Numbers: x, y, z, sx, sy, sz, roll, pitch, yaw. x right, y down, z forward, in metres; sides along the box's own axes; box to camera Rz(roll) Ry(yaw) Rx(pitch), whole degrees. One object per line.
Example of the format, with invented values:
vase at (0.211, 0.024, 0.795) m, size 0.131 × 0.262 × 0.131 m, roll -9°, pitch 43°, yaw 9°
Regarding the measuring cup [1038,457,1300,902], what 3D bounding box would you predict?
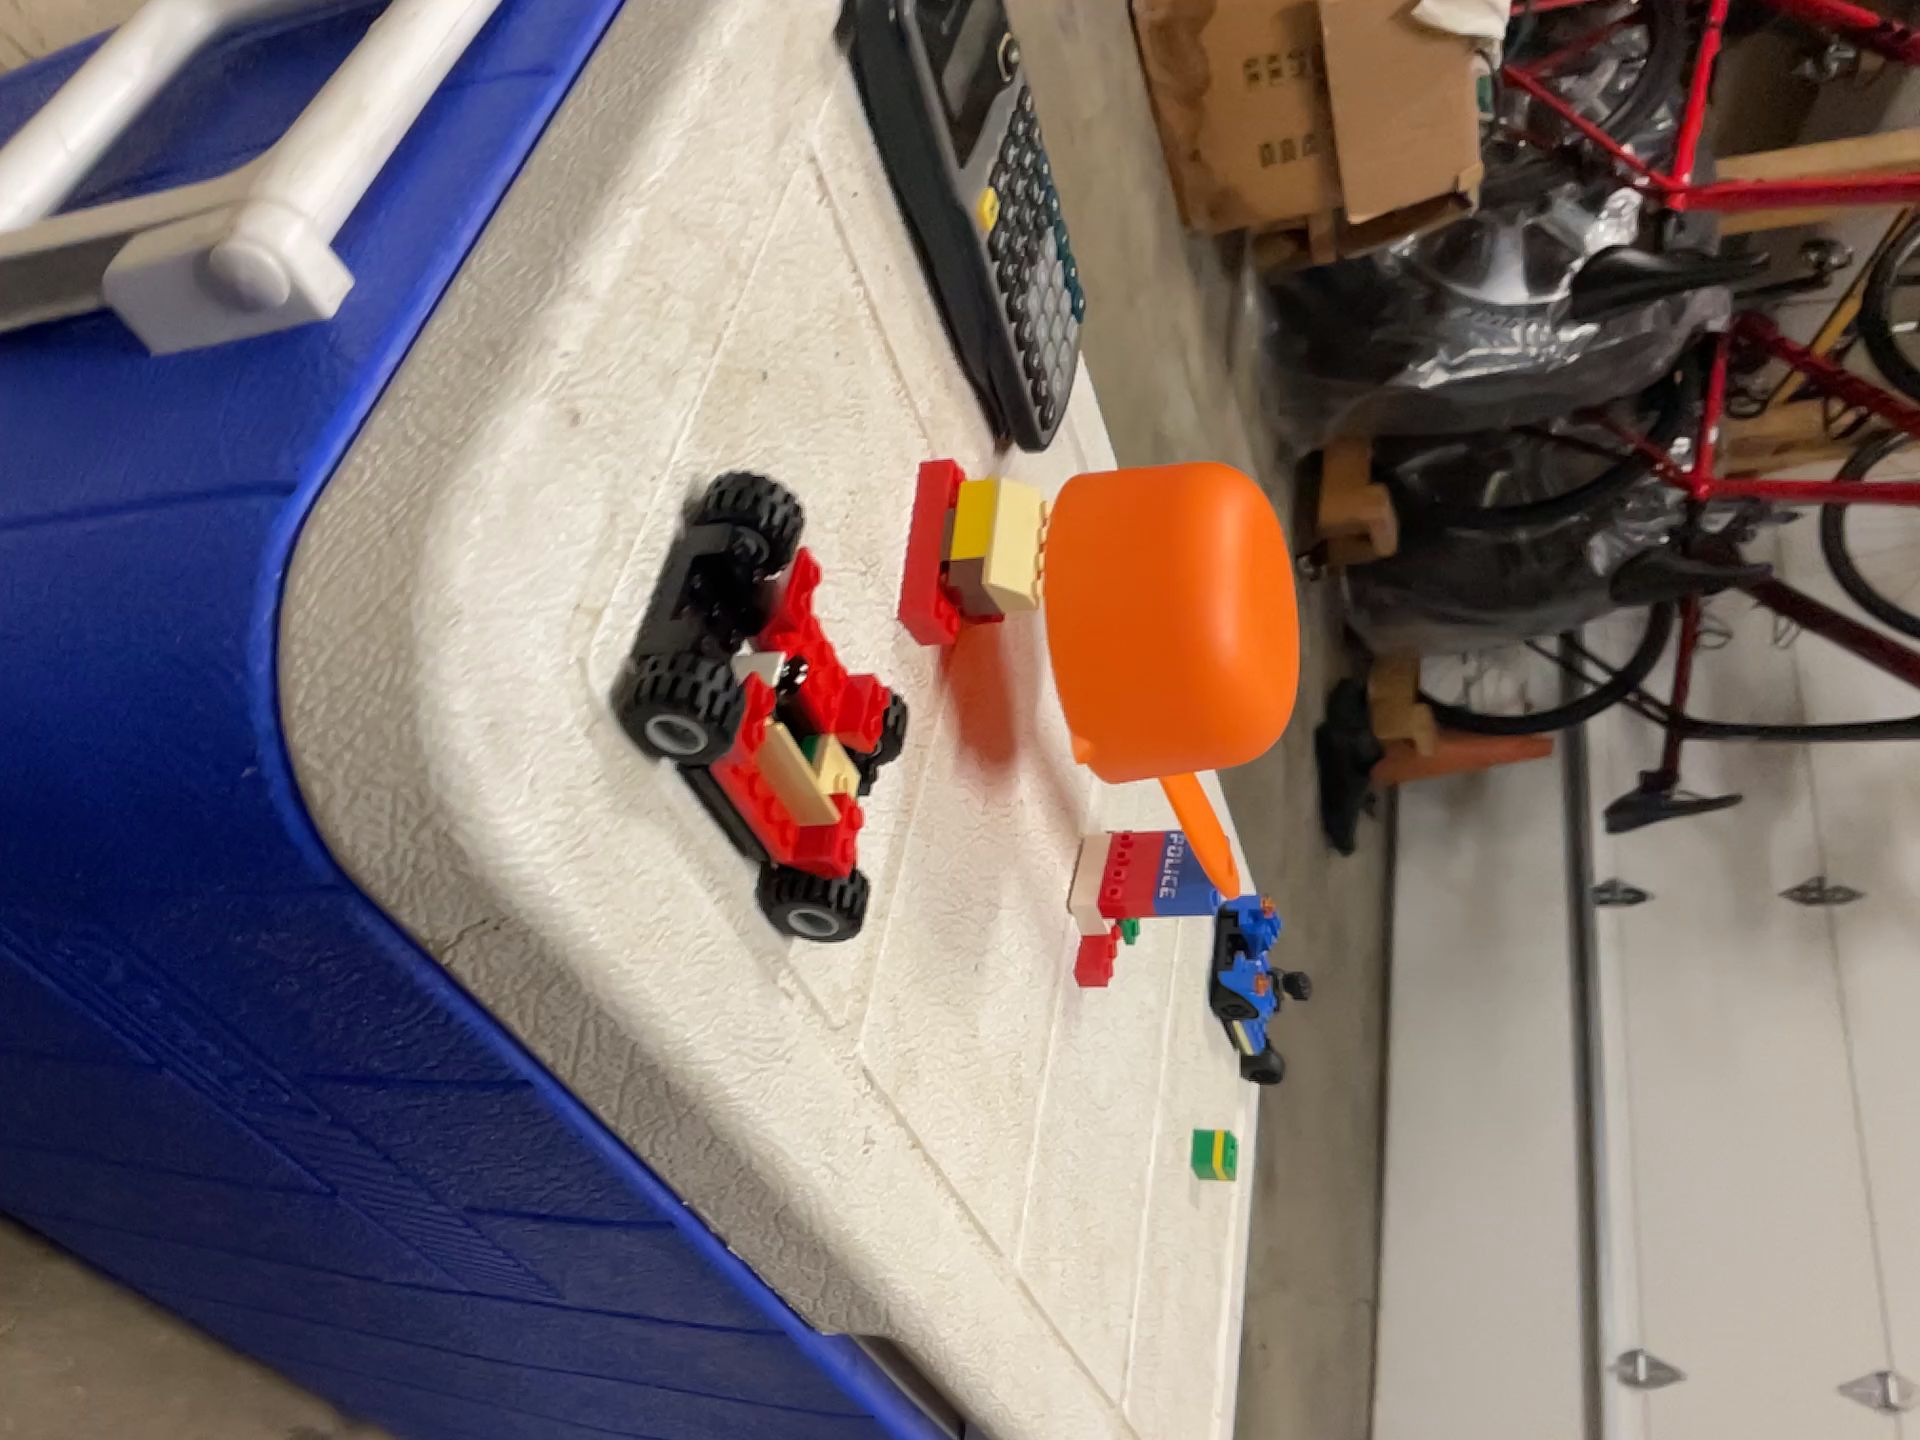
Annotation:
measuring cup at (0.077, -0.001, 0.463) m, size 0.173 × 0.052 × 0.095 m, roll 58°, pitch 35°, yaw -41°
